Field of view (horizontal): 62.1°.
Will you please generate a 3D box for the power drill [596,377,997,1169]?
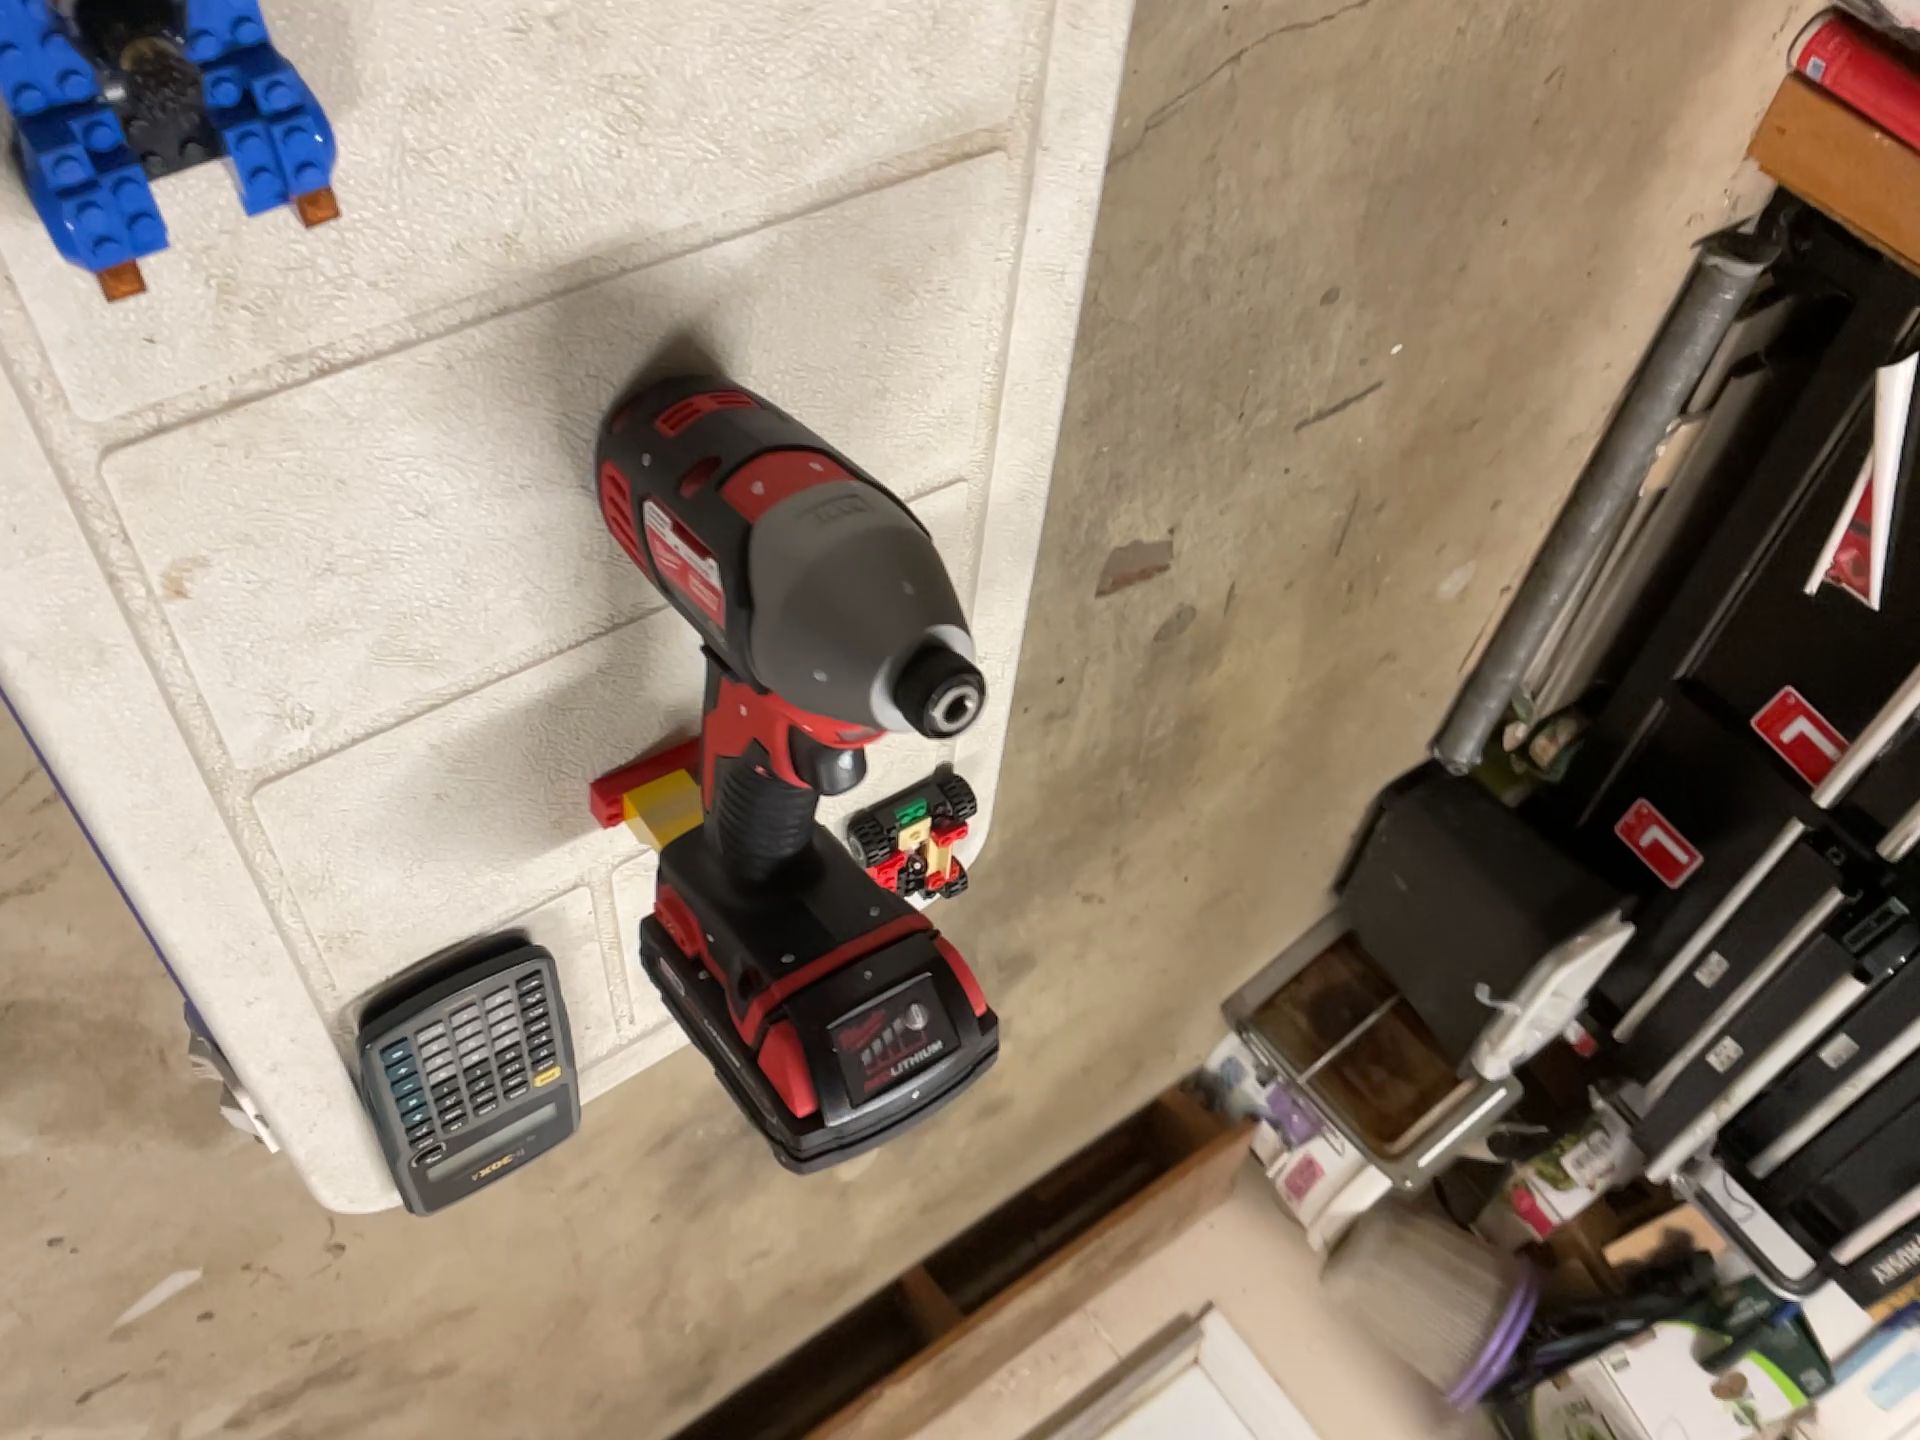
[{"bbox_3d":[-0.044,0.022,0.472,0.078,0.143,0.219,-25,136,-28],"label":"power drill"}]
